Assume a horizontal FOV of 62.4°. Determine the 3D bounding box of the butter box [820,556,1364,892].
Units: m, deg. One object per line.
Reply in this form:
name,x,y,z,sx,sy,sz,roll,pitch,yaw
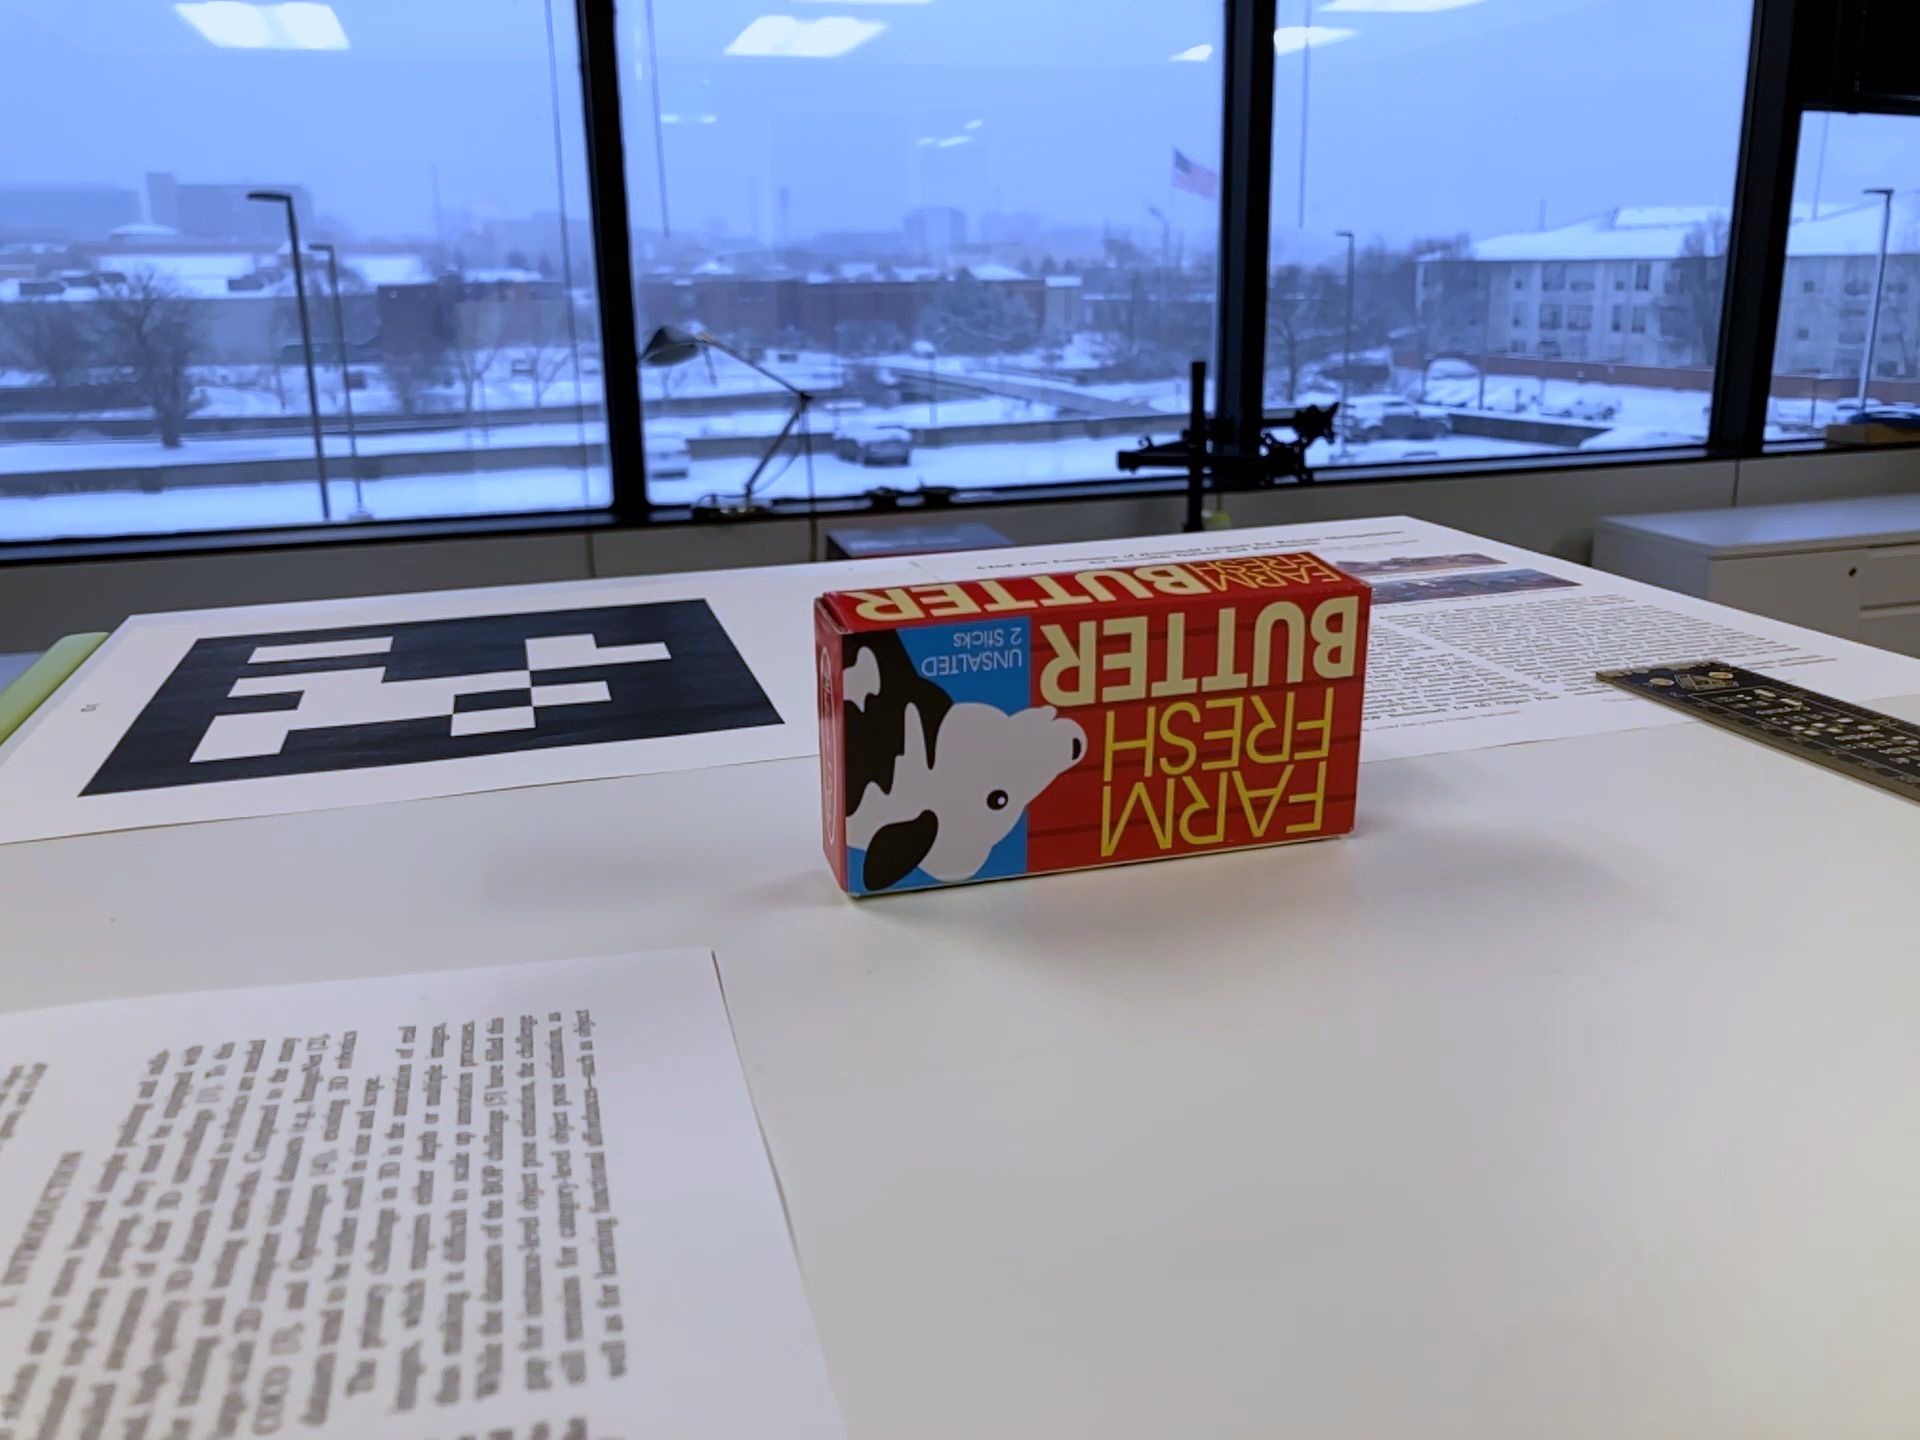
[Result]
butter box,0.025,-0.001,0.306,0.103,0.053,0.024,-6,21,-16
